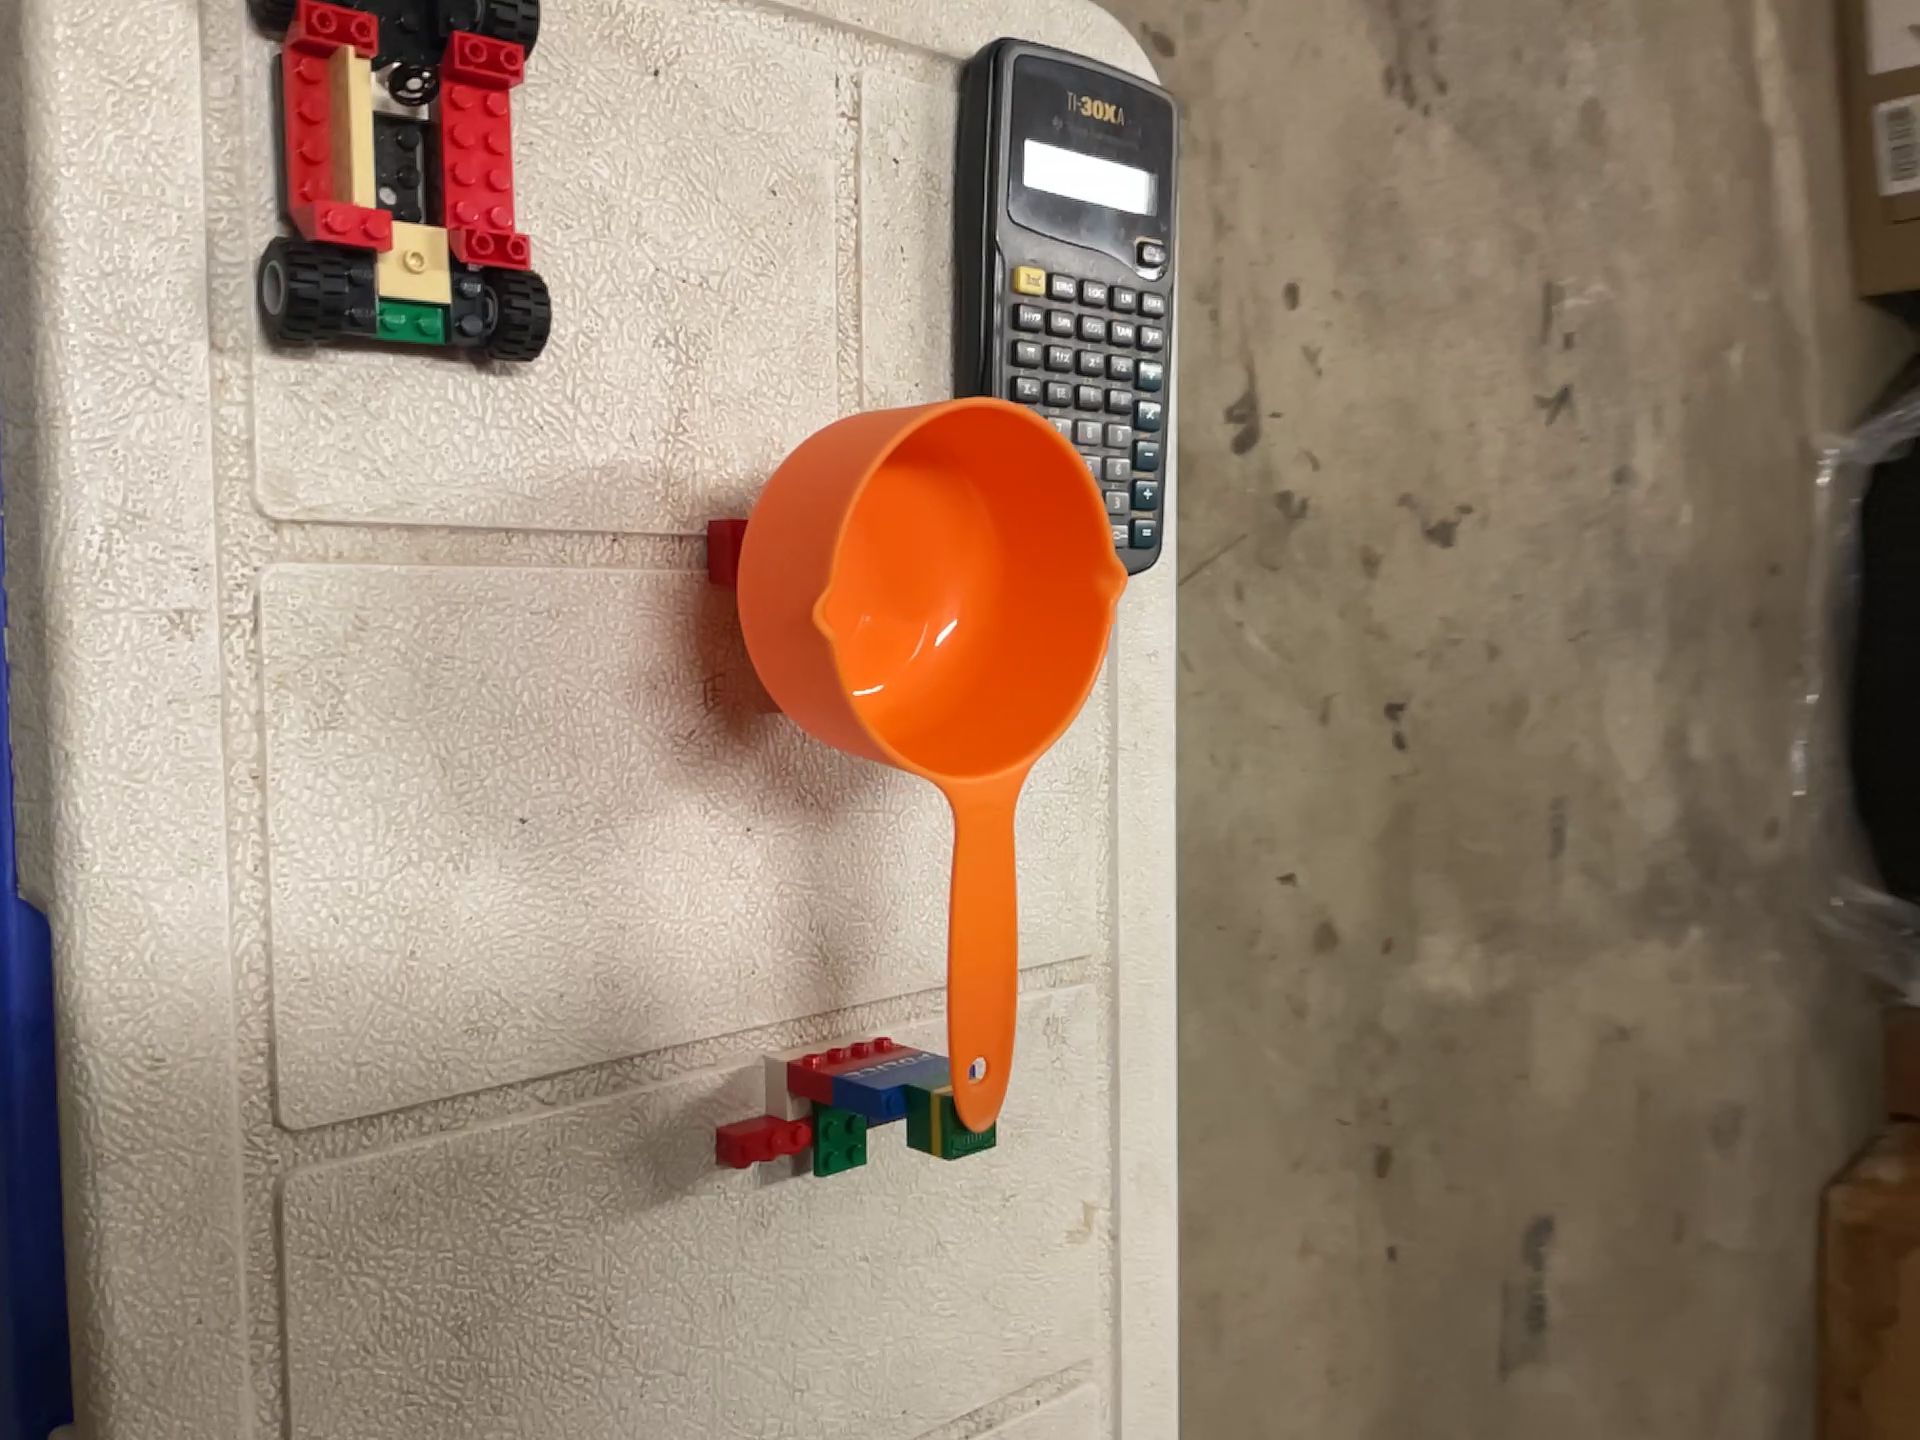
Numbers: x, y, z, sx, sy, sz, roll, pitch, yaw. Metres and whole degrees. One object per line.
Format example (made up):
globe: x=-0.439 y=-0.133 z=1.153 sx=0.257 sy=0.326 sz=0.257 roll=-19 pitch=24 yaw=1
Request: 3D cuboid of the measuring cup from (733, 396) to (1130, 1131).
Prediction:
measuring cup: x=-0.010 y=0.011 z=0.385 sx=0.095 sy=0.052 sz=0.173 roll=-10 pitch=105 yaw=-41
